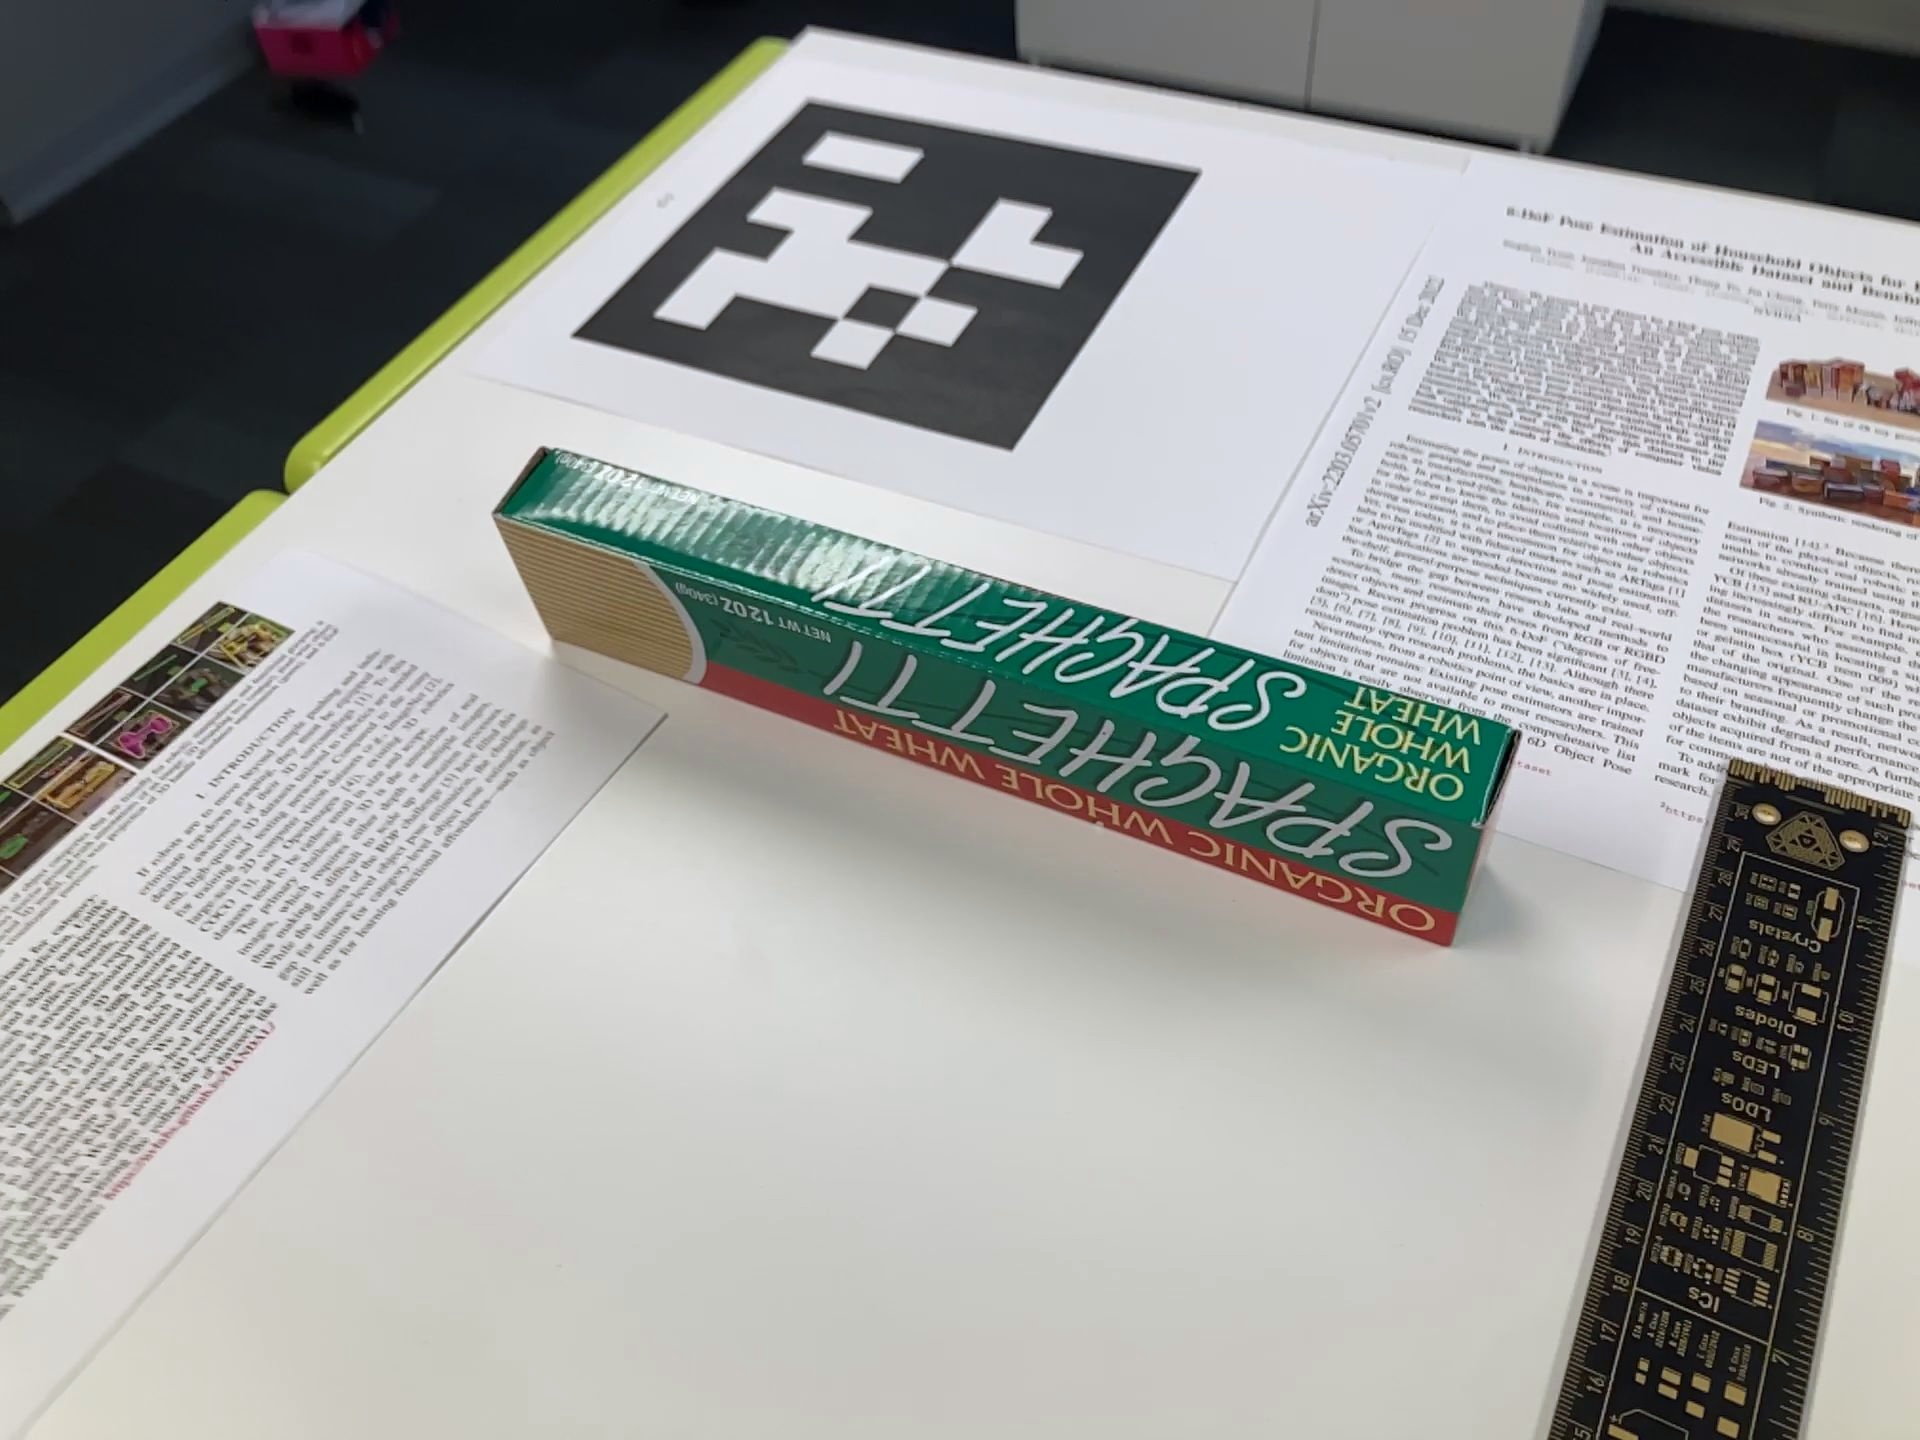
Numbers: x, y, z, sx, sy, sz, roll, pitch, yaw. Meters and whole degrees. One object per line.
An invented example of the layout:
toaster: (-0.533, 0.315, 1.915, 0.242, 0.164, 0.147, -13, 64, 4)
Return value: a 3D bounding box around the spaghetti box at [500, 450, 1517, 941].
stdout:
spaghetti box: (0.002, -0.011, 0.382, 0.250, 0.050, 0.028, 18, 58, 20)
